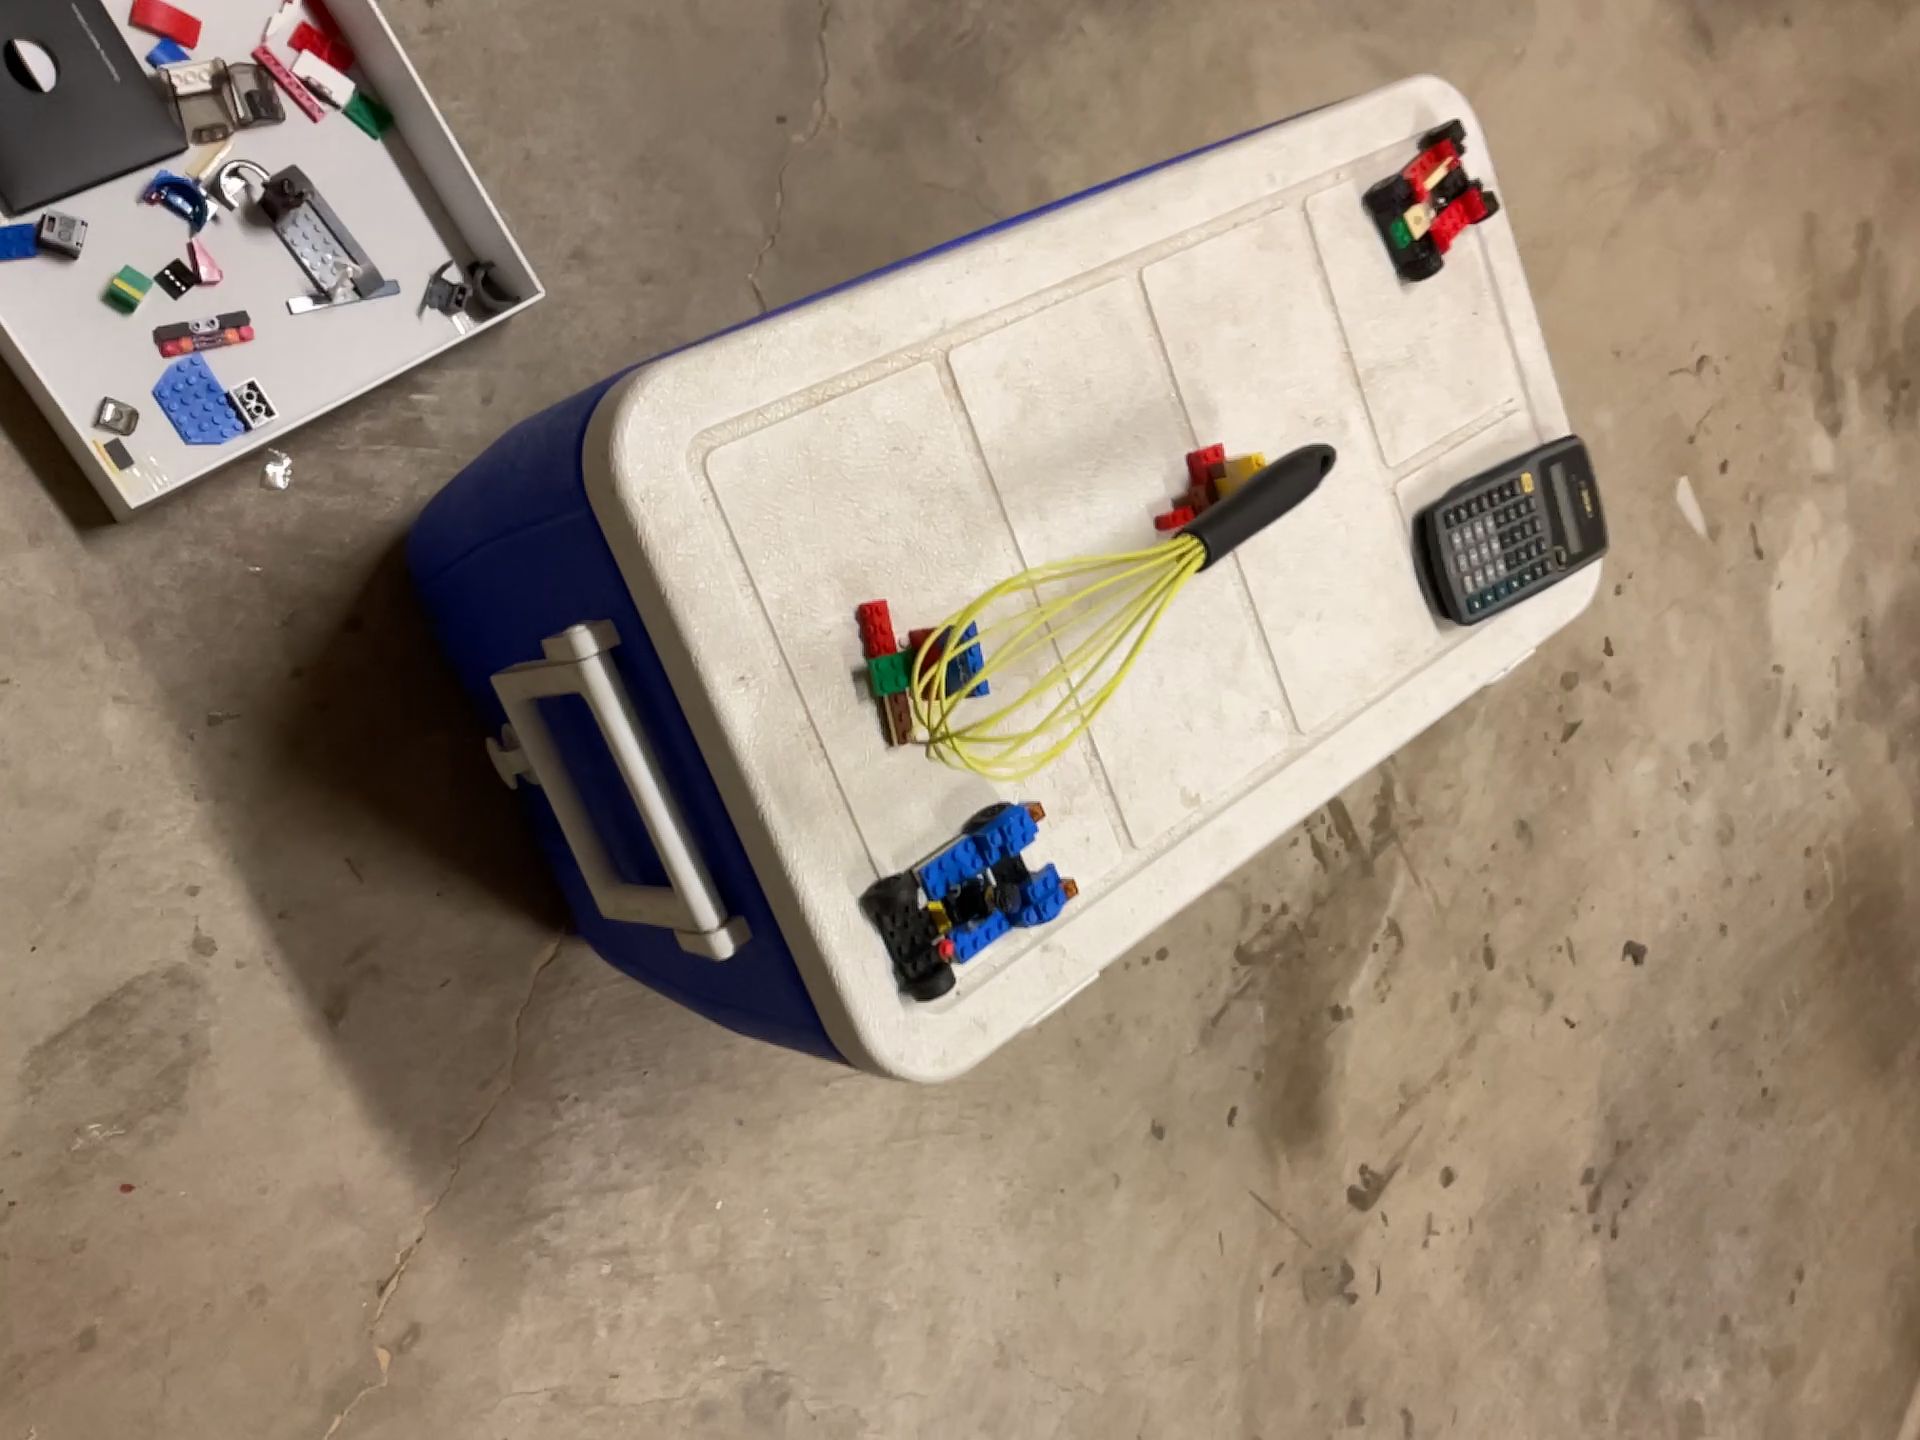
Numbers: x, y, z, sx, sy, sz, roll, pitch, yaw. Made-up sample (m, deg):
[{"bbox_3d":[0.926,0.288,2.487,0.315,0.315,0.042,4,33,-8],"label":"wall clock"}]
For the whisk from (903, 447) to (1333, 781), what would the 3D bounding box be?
[{"bbox_3d":[0.082,-0.062,0.695,0.312,0.067,0.079,-36,155,-39],"label":"whisk"}]
